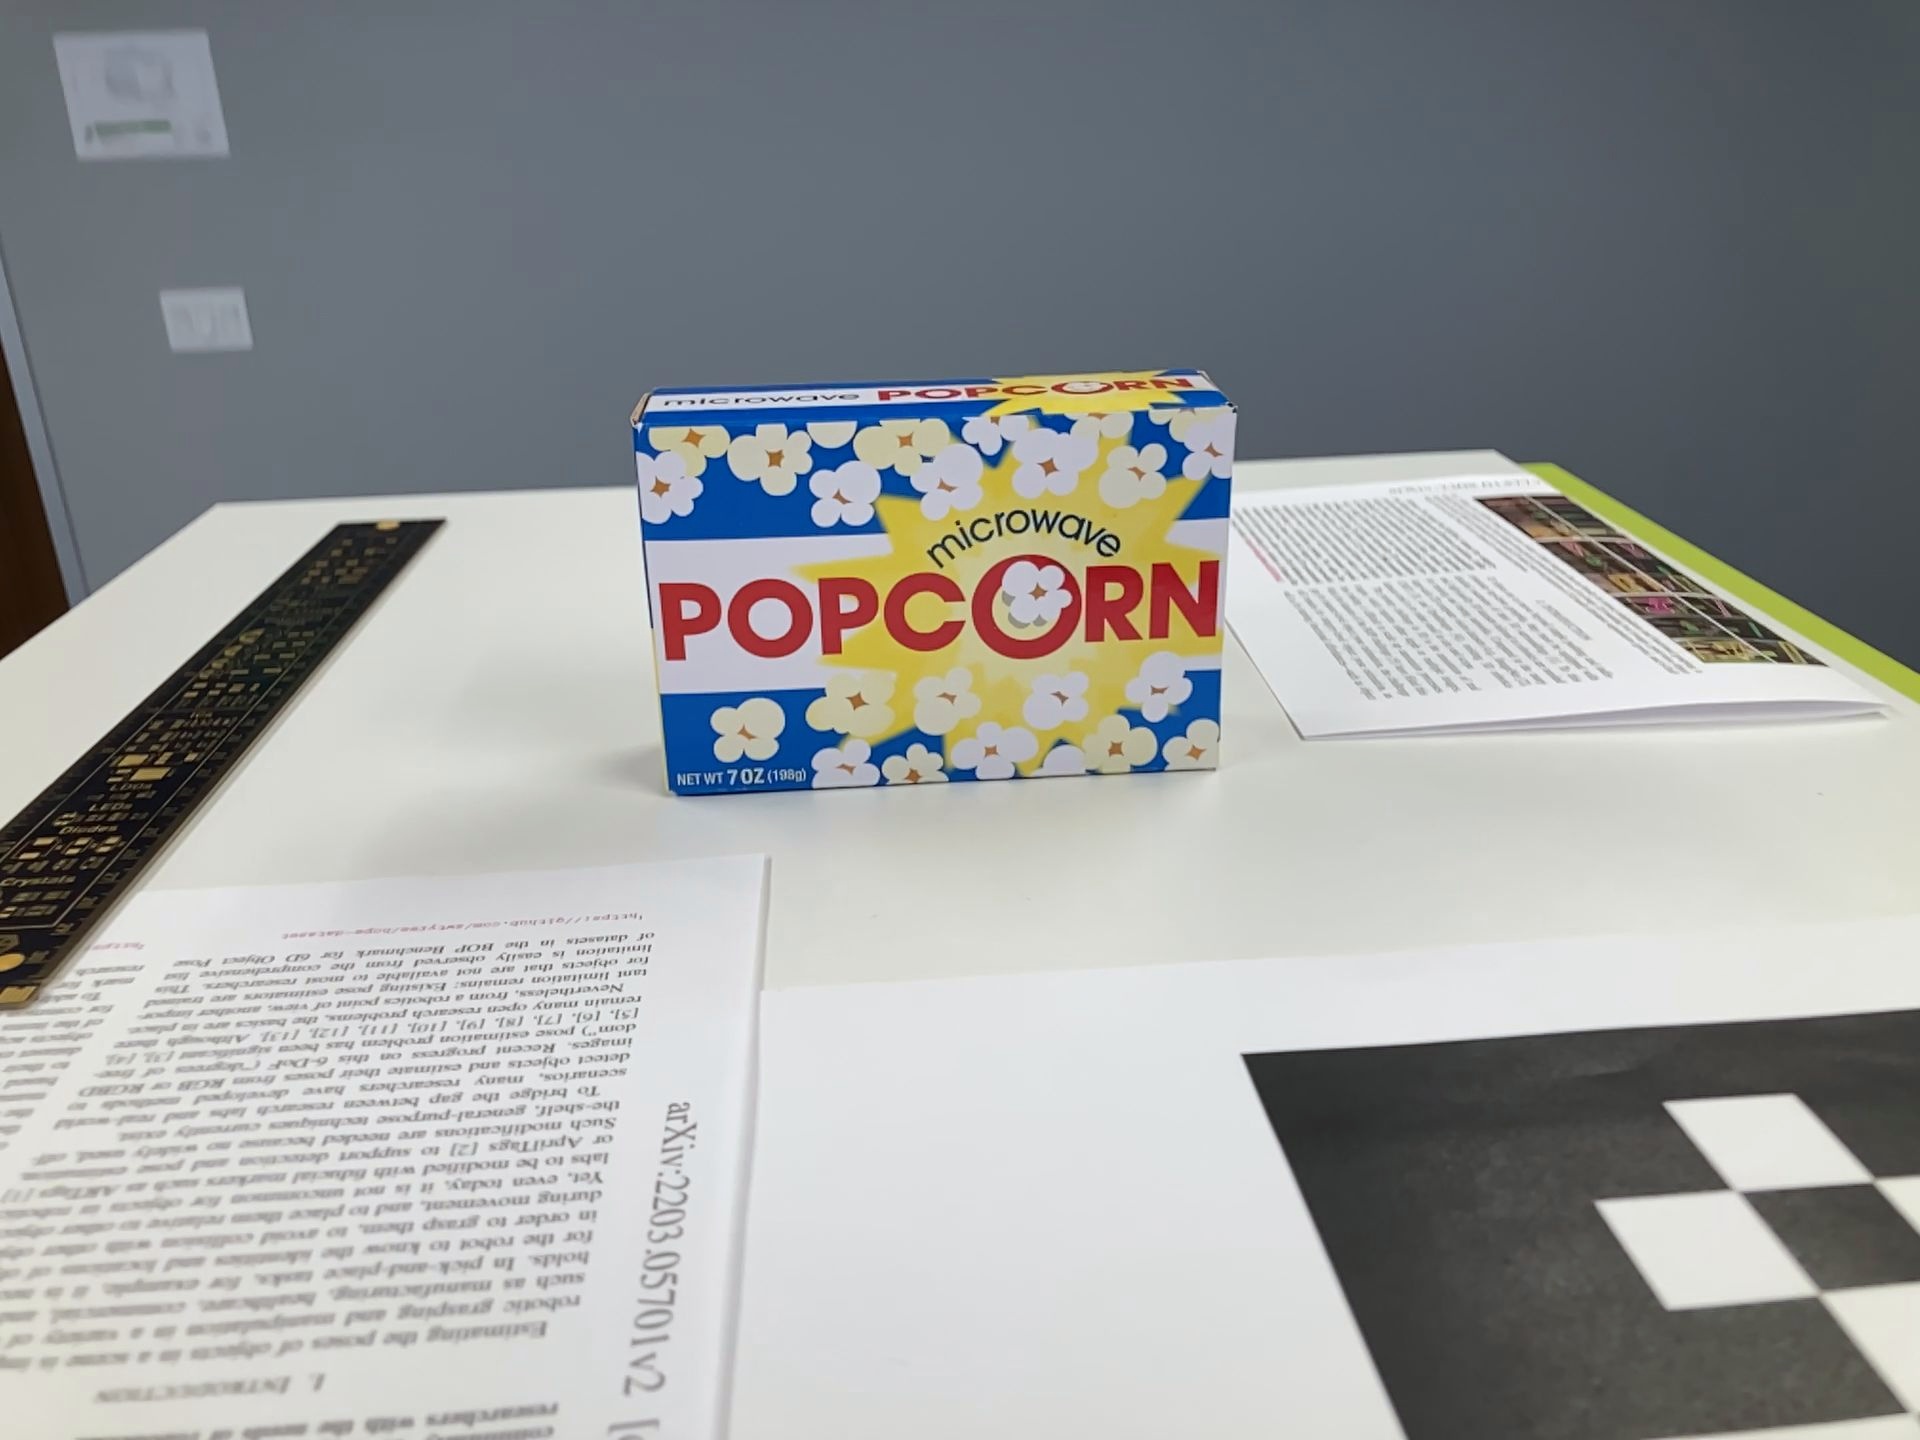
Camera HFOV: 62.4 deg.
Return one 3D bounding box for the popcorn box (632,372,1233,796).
[{"bbox_3d":[-0.005,-0.031,0.357,0.126,0.085,0.038,-3,22,-4],"label":"popcorn box"}]
